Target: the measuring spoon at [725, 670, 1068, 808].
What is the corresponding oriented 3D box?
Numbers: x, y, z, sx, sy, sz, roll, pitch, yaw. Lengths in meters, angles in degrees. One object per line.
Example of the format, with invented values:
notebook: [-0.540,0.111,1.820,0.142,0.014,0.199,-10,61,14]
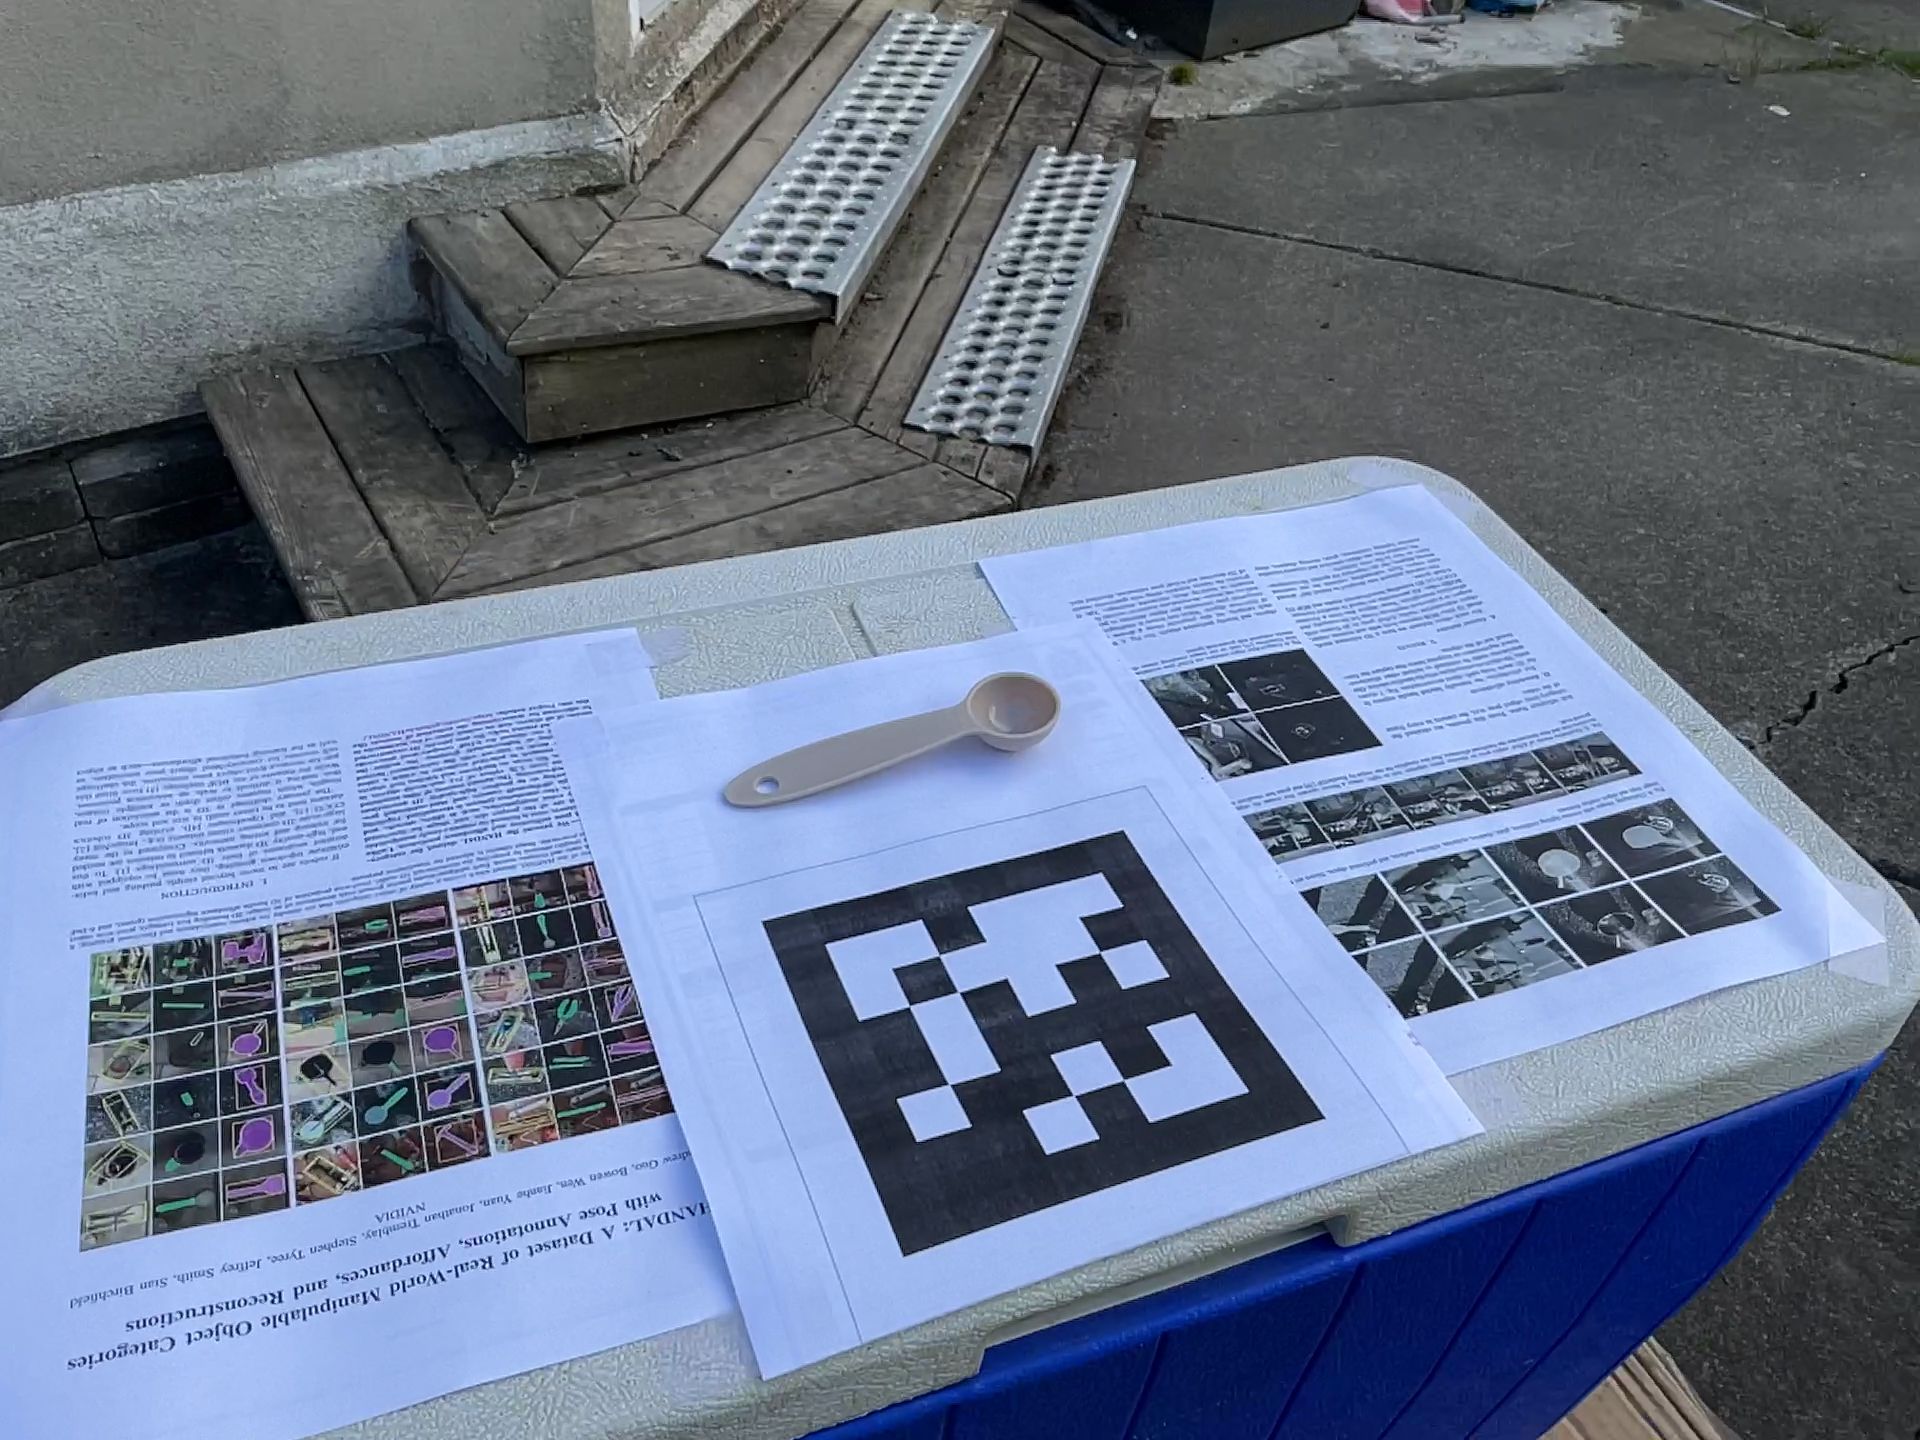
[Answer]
measuring spoon: [-0.021,0.012,0.557,0.124,0.018,0.034,-17,47,-14]
